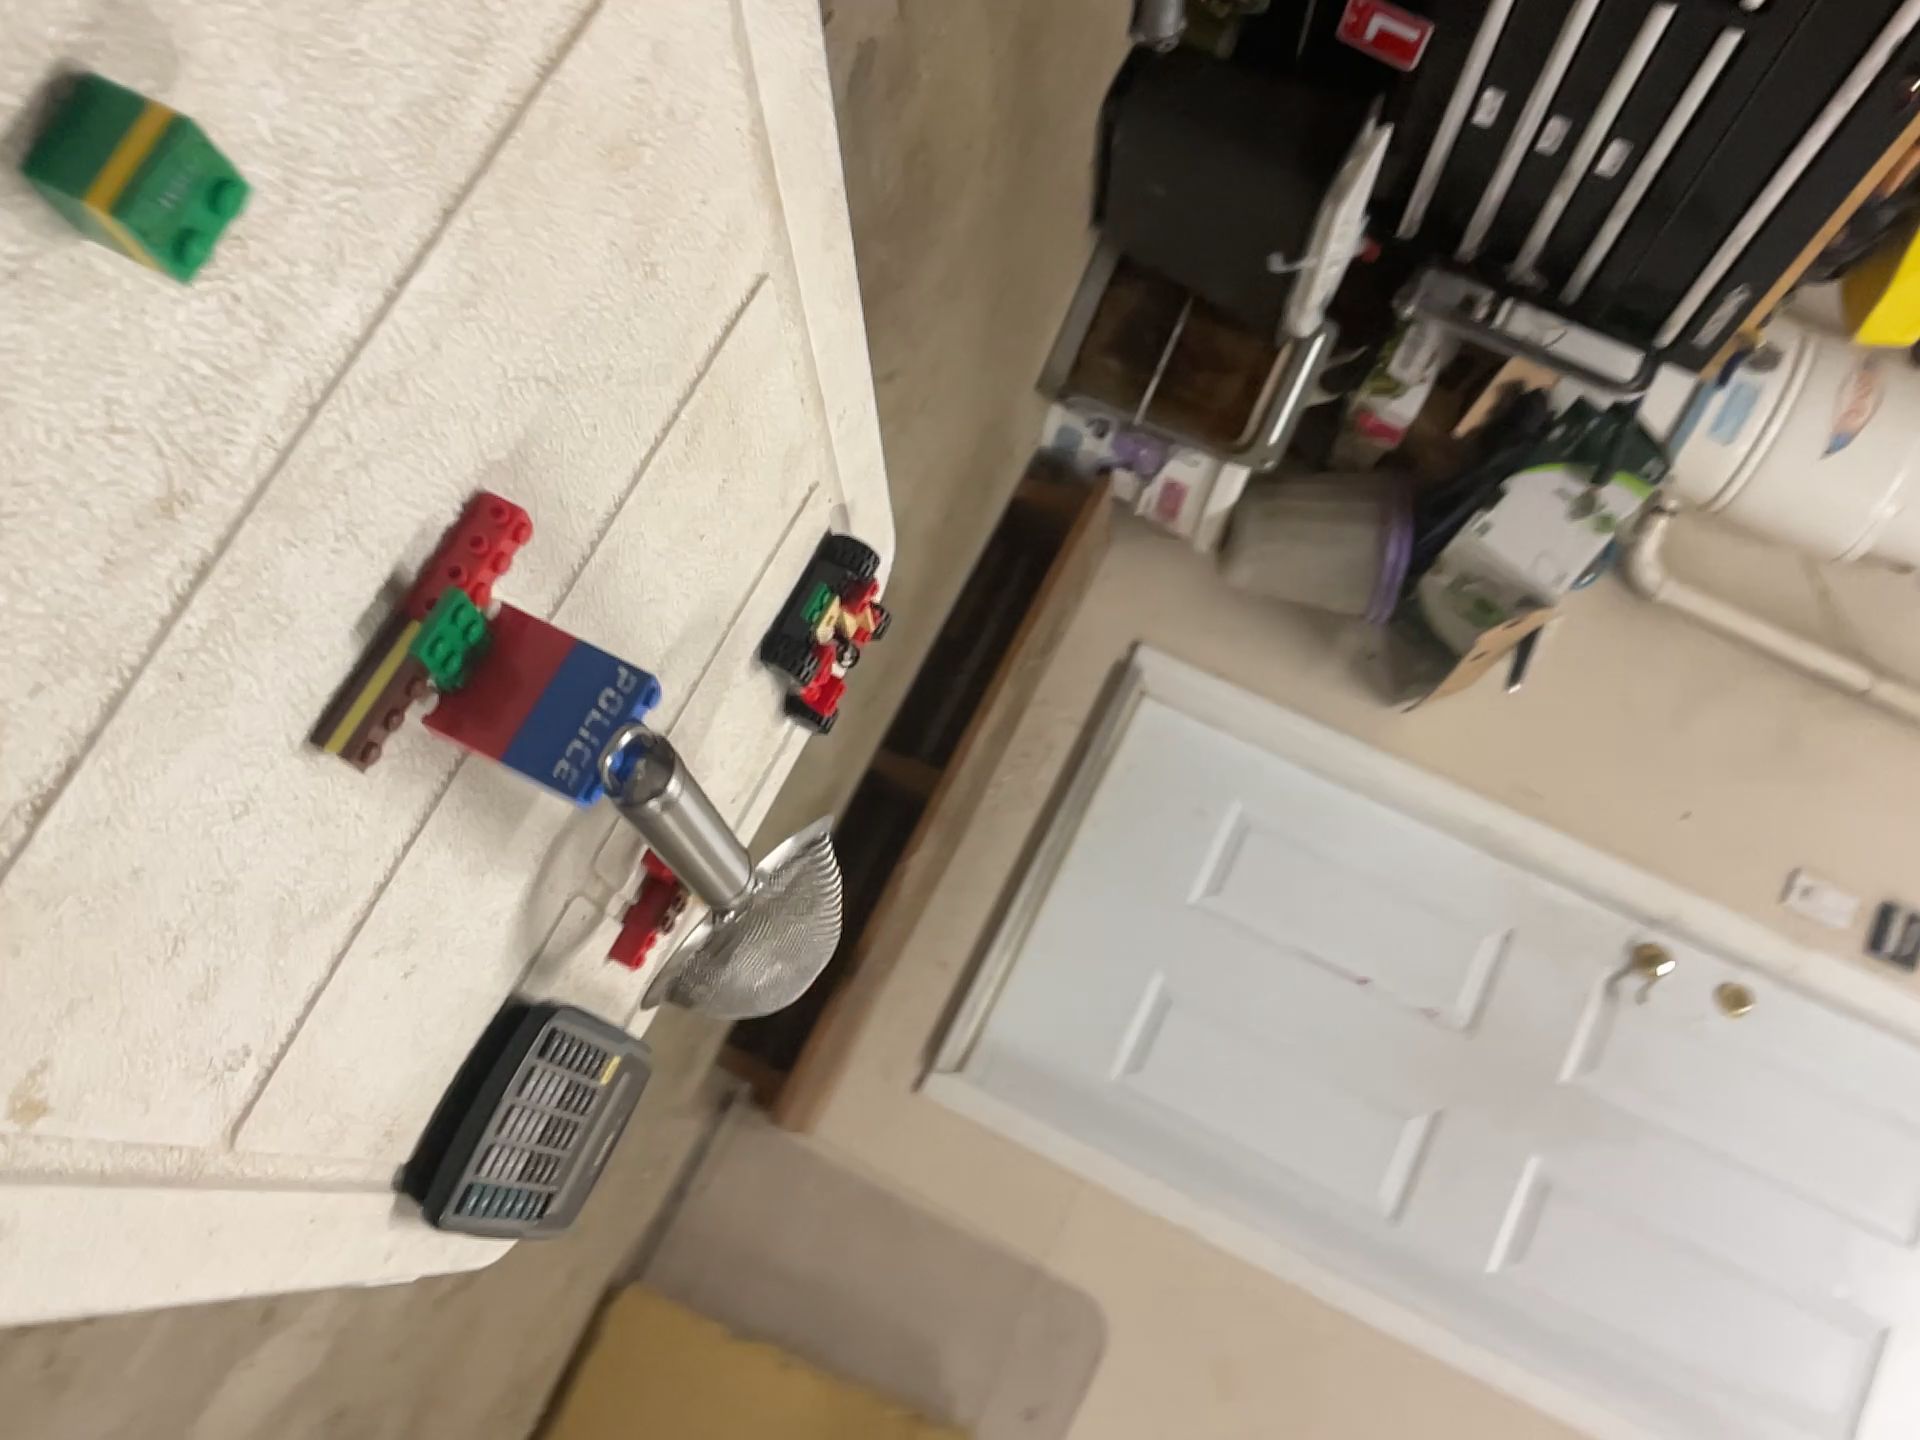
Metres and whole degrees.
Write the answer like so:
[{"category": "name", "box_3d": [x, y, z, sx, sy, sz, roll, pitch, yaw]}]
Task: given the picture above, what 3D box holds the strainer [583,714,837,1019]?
[{"category": "strainer", "box_3d": [-0.067, 0.046, 0.446, 0.087, 0.050, 0.258, -46, 165, -12]}]
